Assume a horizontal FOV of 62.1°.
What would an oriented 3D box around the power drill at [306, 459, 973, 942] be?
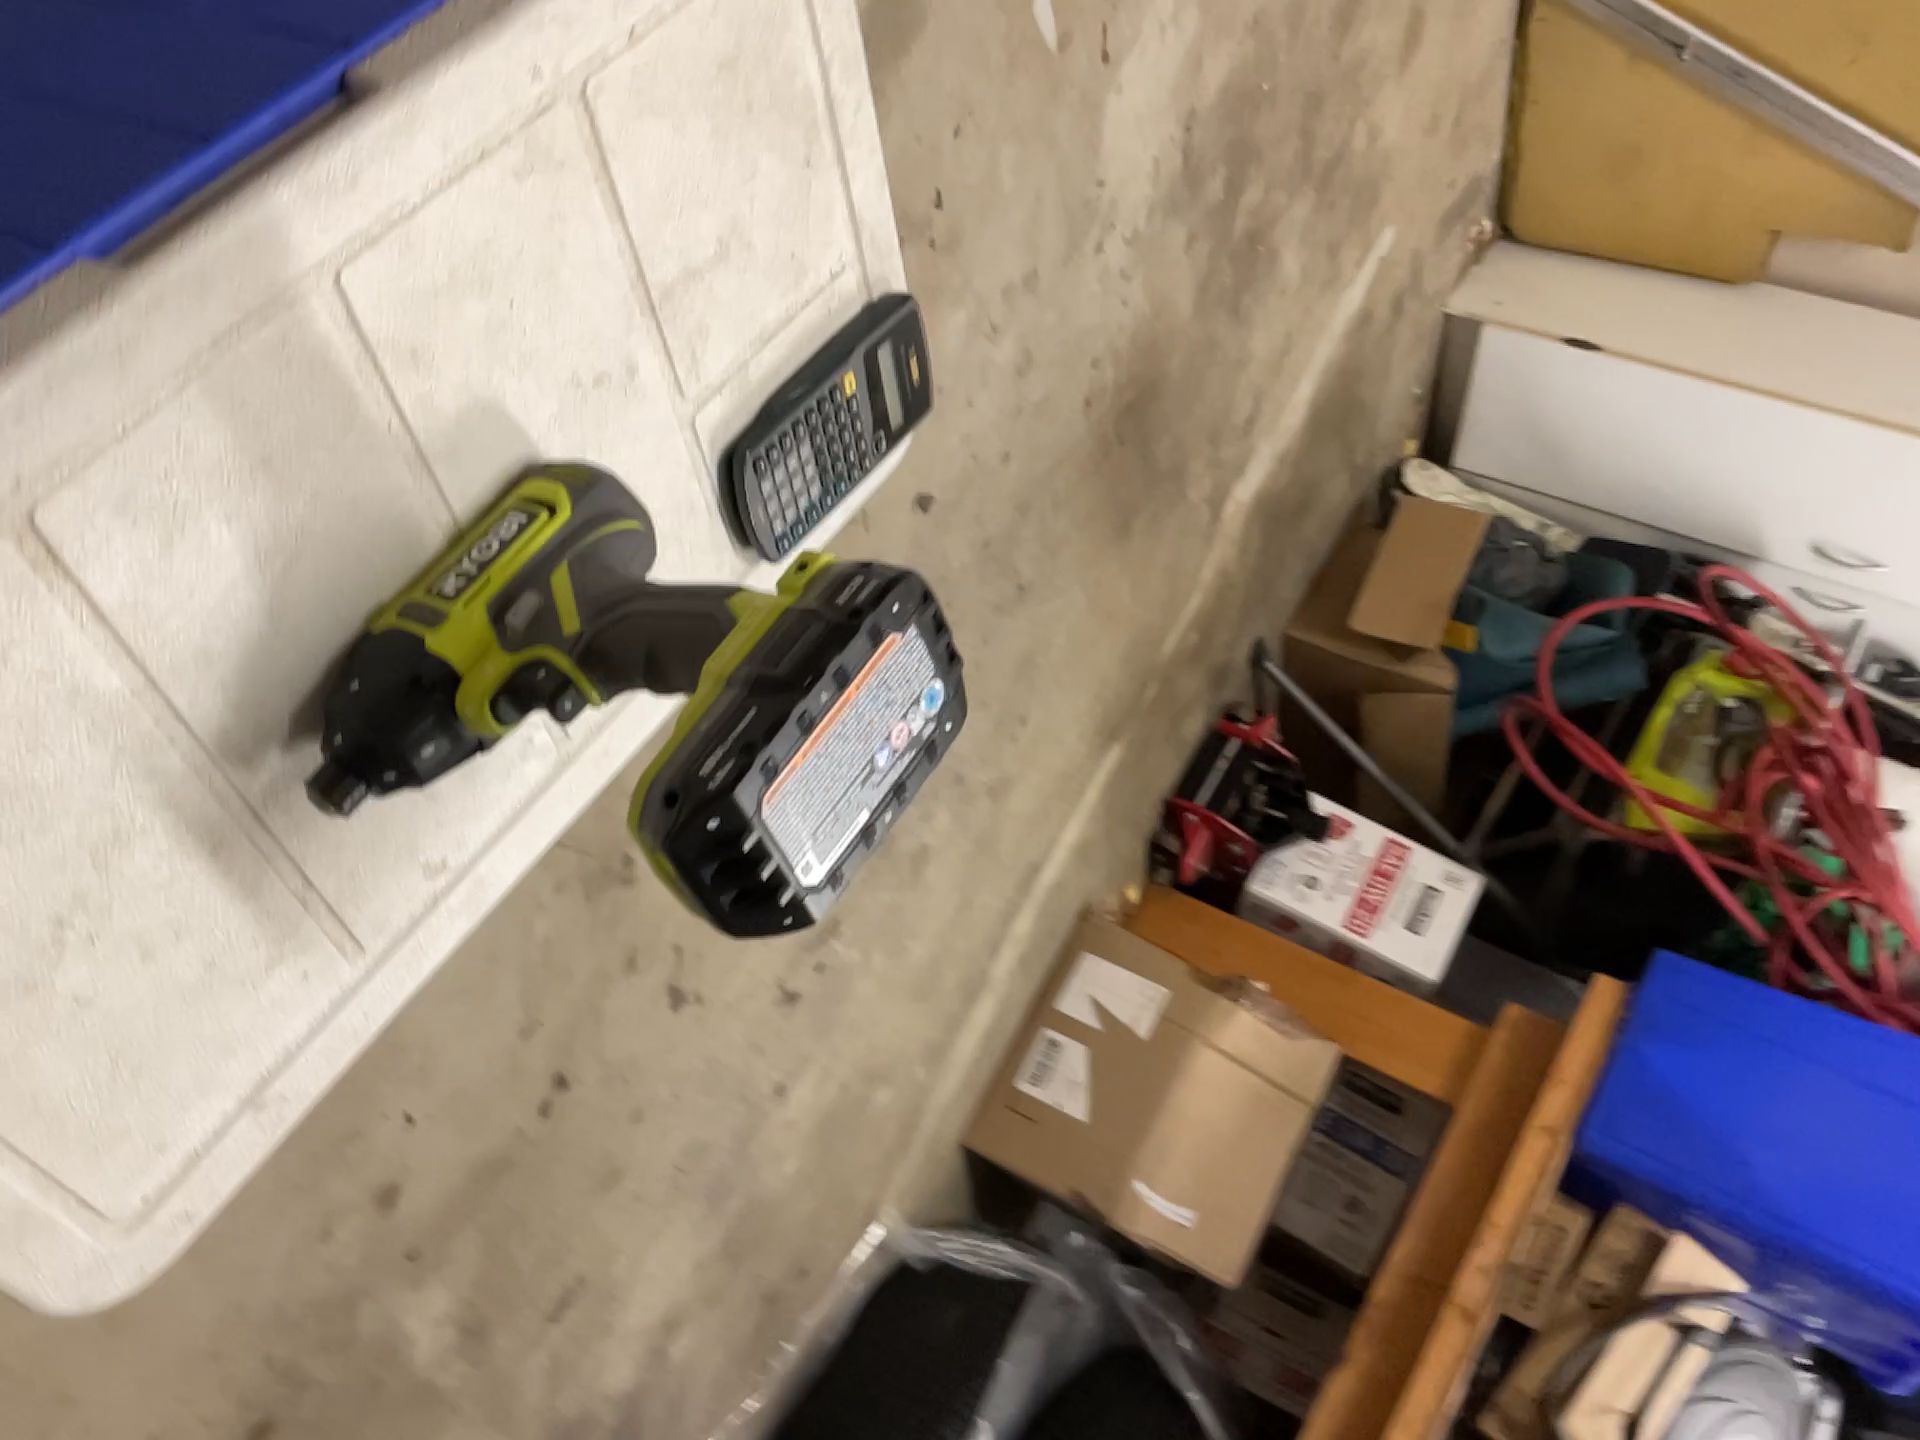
[{"bbox_3d":[-0.124,-0.009,0.582,0.171,0.223,0.080,-54,141,-27],"label":"power drill"}]
